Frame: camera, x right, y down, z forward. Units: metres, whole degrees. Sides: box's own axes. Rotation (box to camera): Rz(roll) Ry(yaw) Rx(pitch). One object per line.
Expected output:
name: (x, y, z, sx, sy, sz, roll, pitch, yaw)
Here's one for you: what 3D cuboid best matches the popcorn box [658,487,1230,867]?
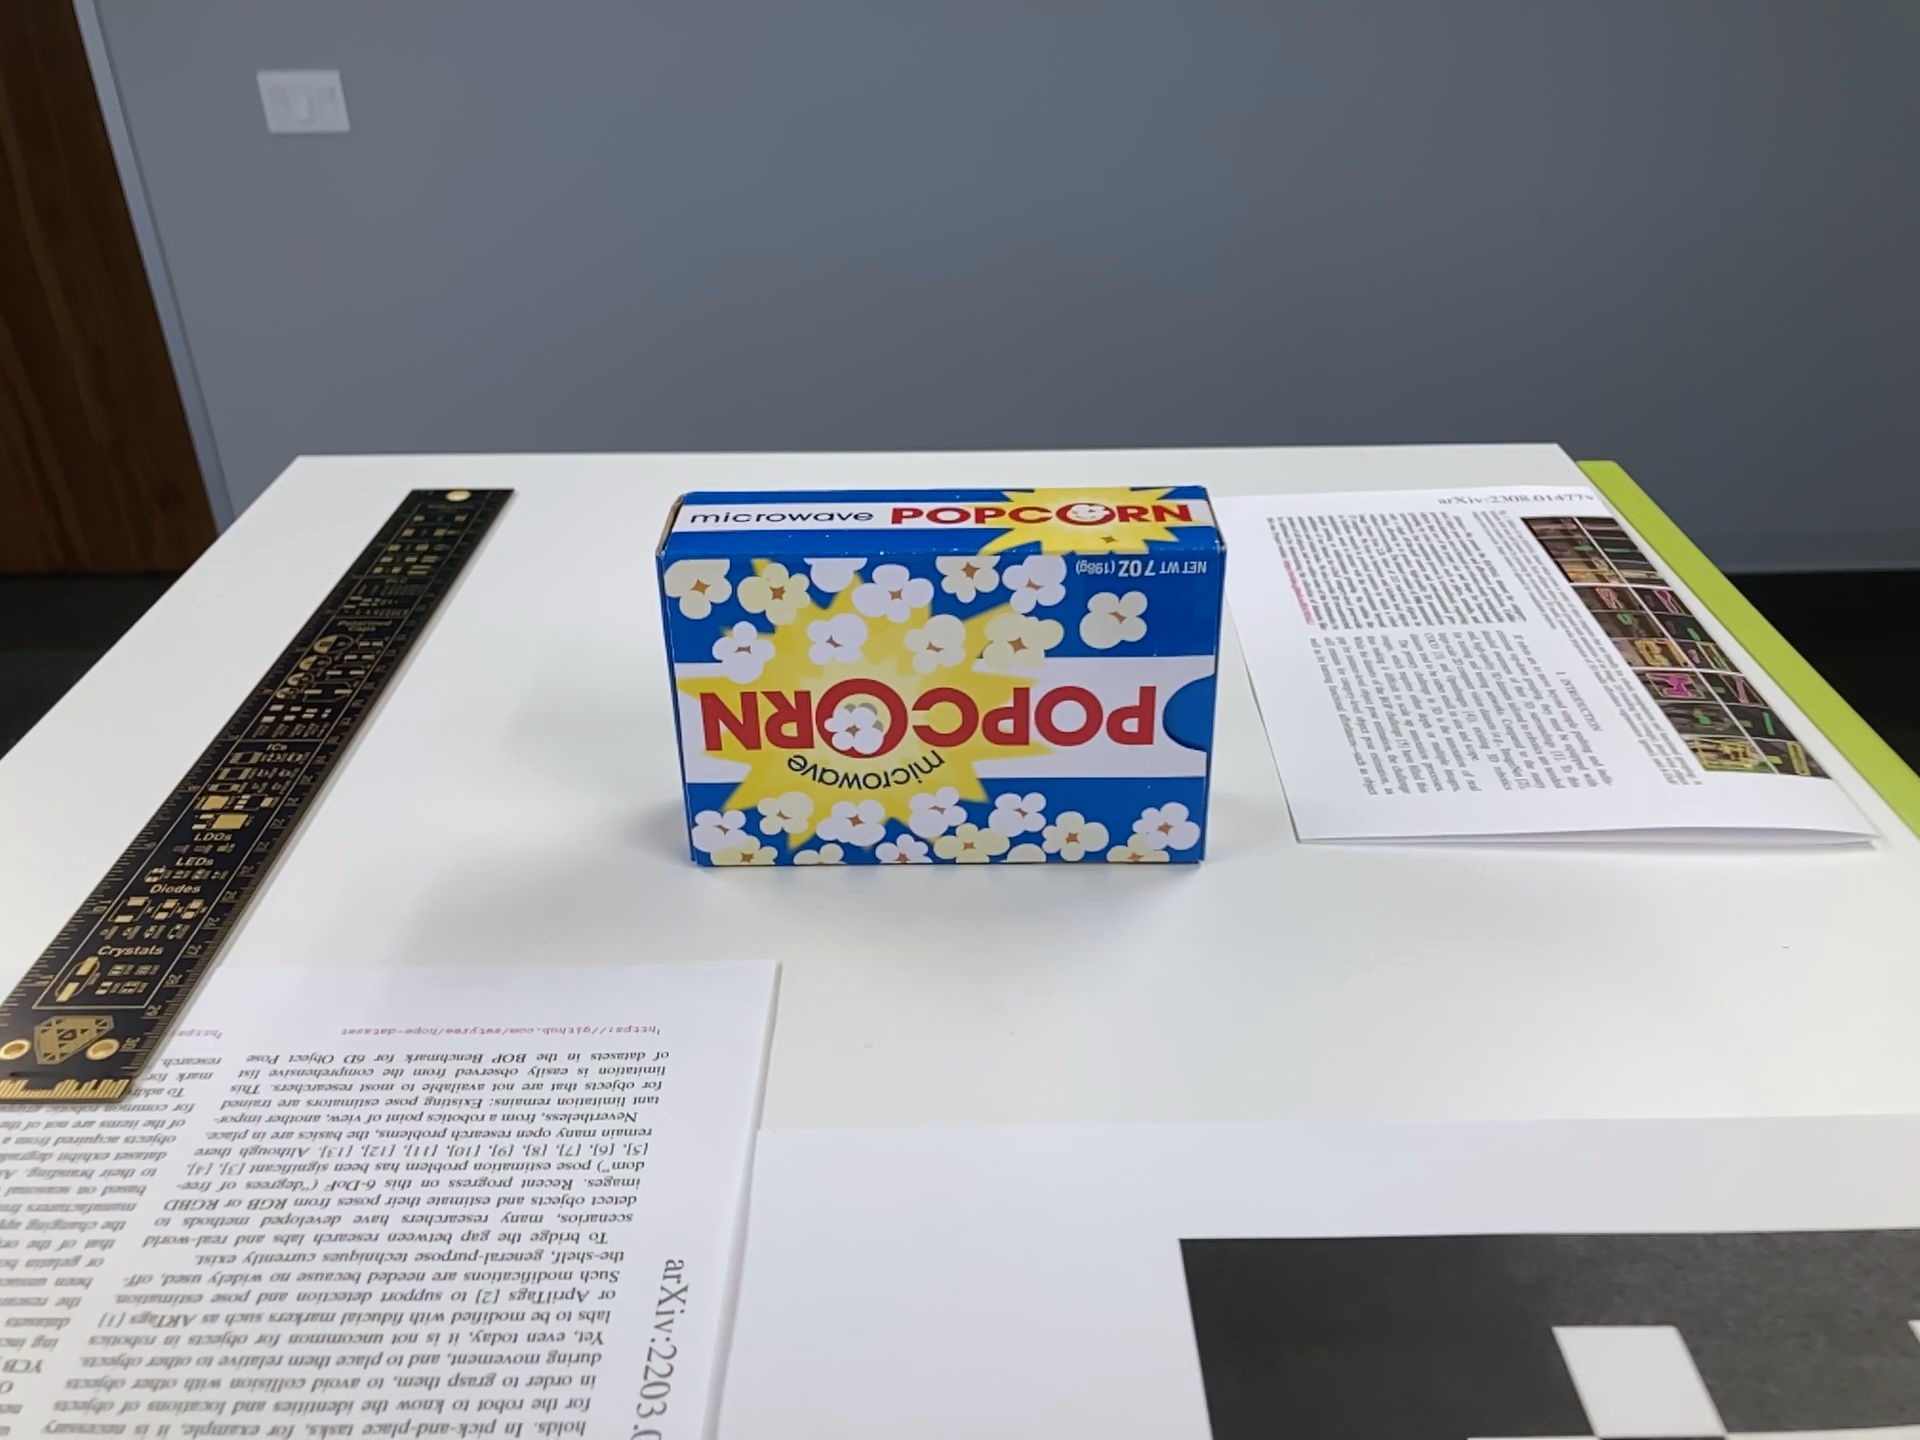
popcorn box: (-0.004, -0.009, 0.379, 0.126, 0.085, 0.038, -1, 29, 1)
